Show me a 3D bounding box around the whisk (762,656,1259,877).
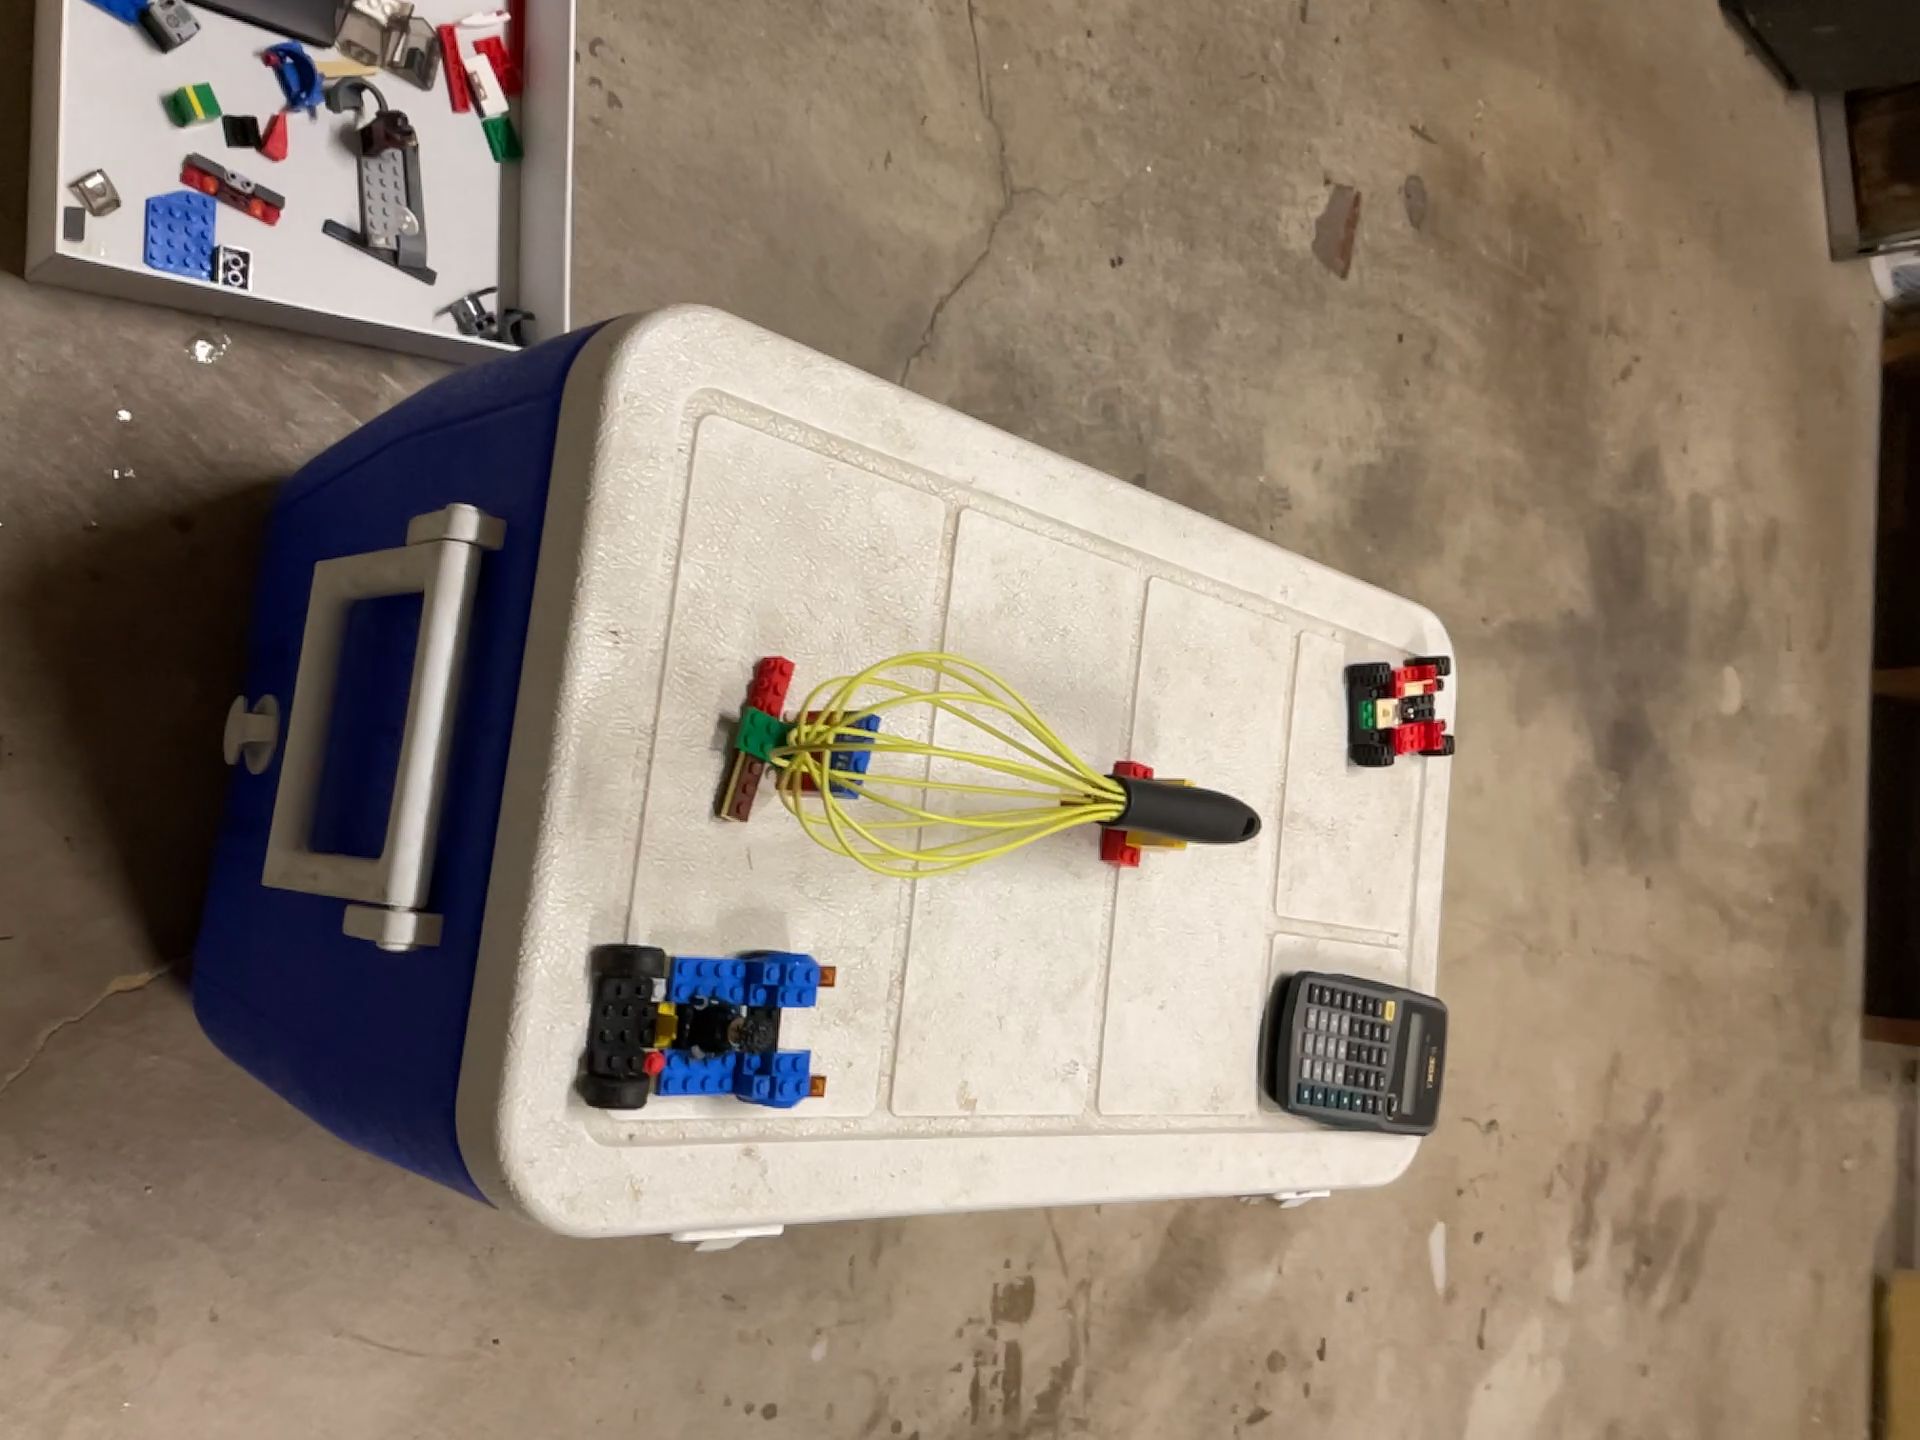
[{"bbox_3d":[0.040,0.027,0.620,0.080,0.067,0.311,-47,148,22],"label":"whisk"}]
